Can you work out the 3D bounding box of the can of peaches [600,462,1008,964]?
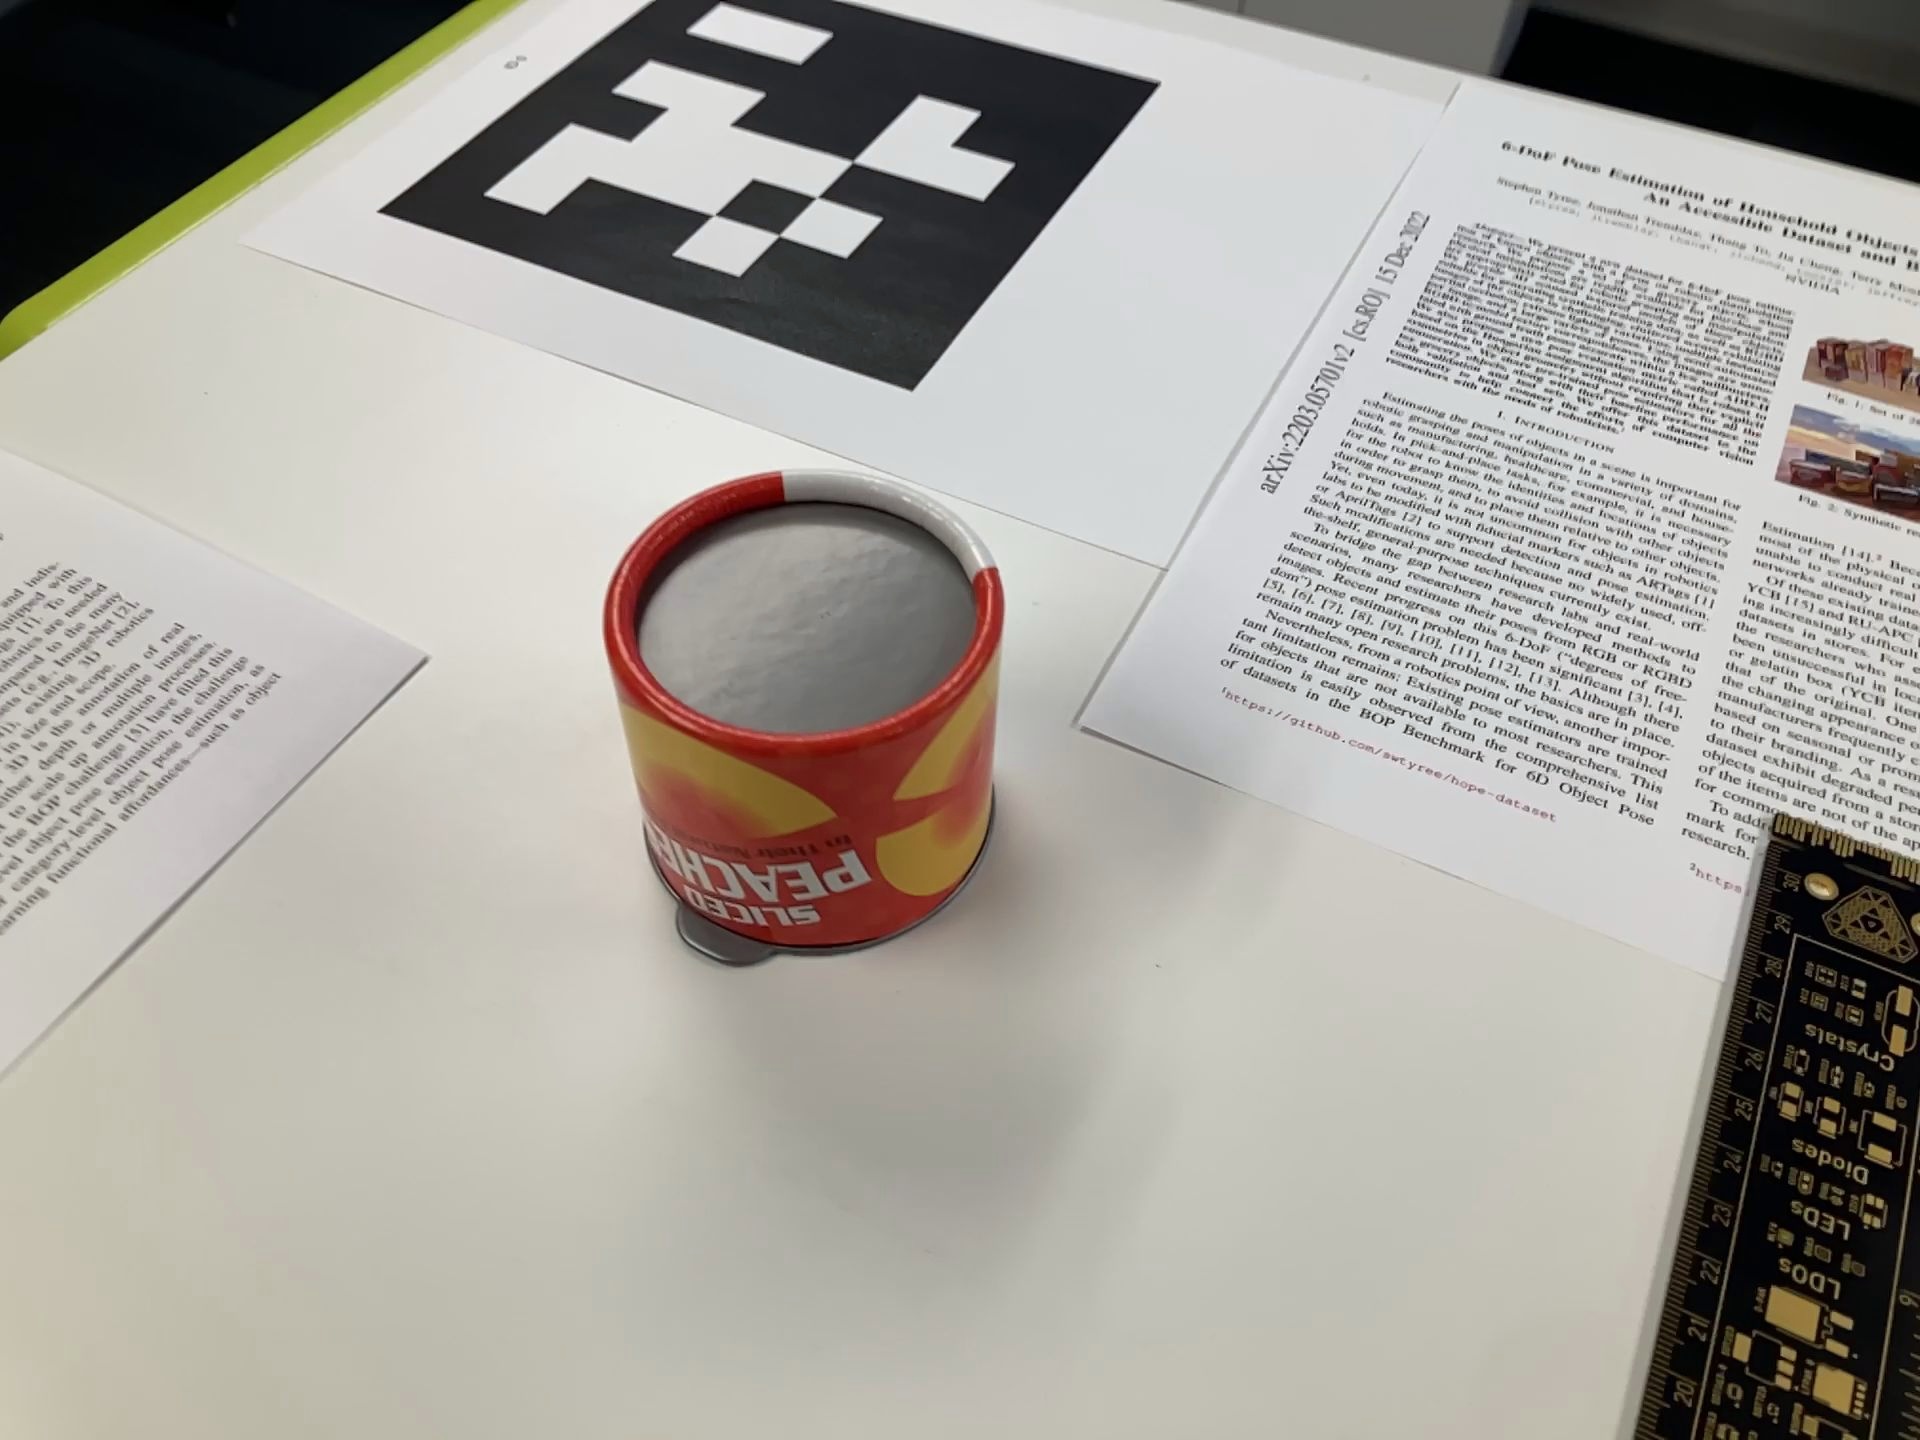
[{"bbox_3d":[-0.027,-0.001,0.274,0.071,0.058,0.071,1,50,-1],"label":"can of peaches"}]
